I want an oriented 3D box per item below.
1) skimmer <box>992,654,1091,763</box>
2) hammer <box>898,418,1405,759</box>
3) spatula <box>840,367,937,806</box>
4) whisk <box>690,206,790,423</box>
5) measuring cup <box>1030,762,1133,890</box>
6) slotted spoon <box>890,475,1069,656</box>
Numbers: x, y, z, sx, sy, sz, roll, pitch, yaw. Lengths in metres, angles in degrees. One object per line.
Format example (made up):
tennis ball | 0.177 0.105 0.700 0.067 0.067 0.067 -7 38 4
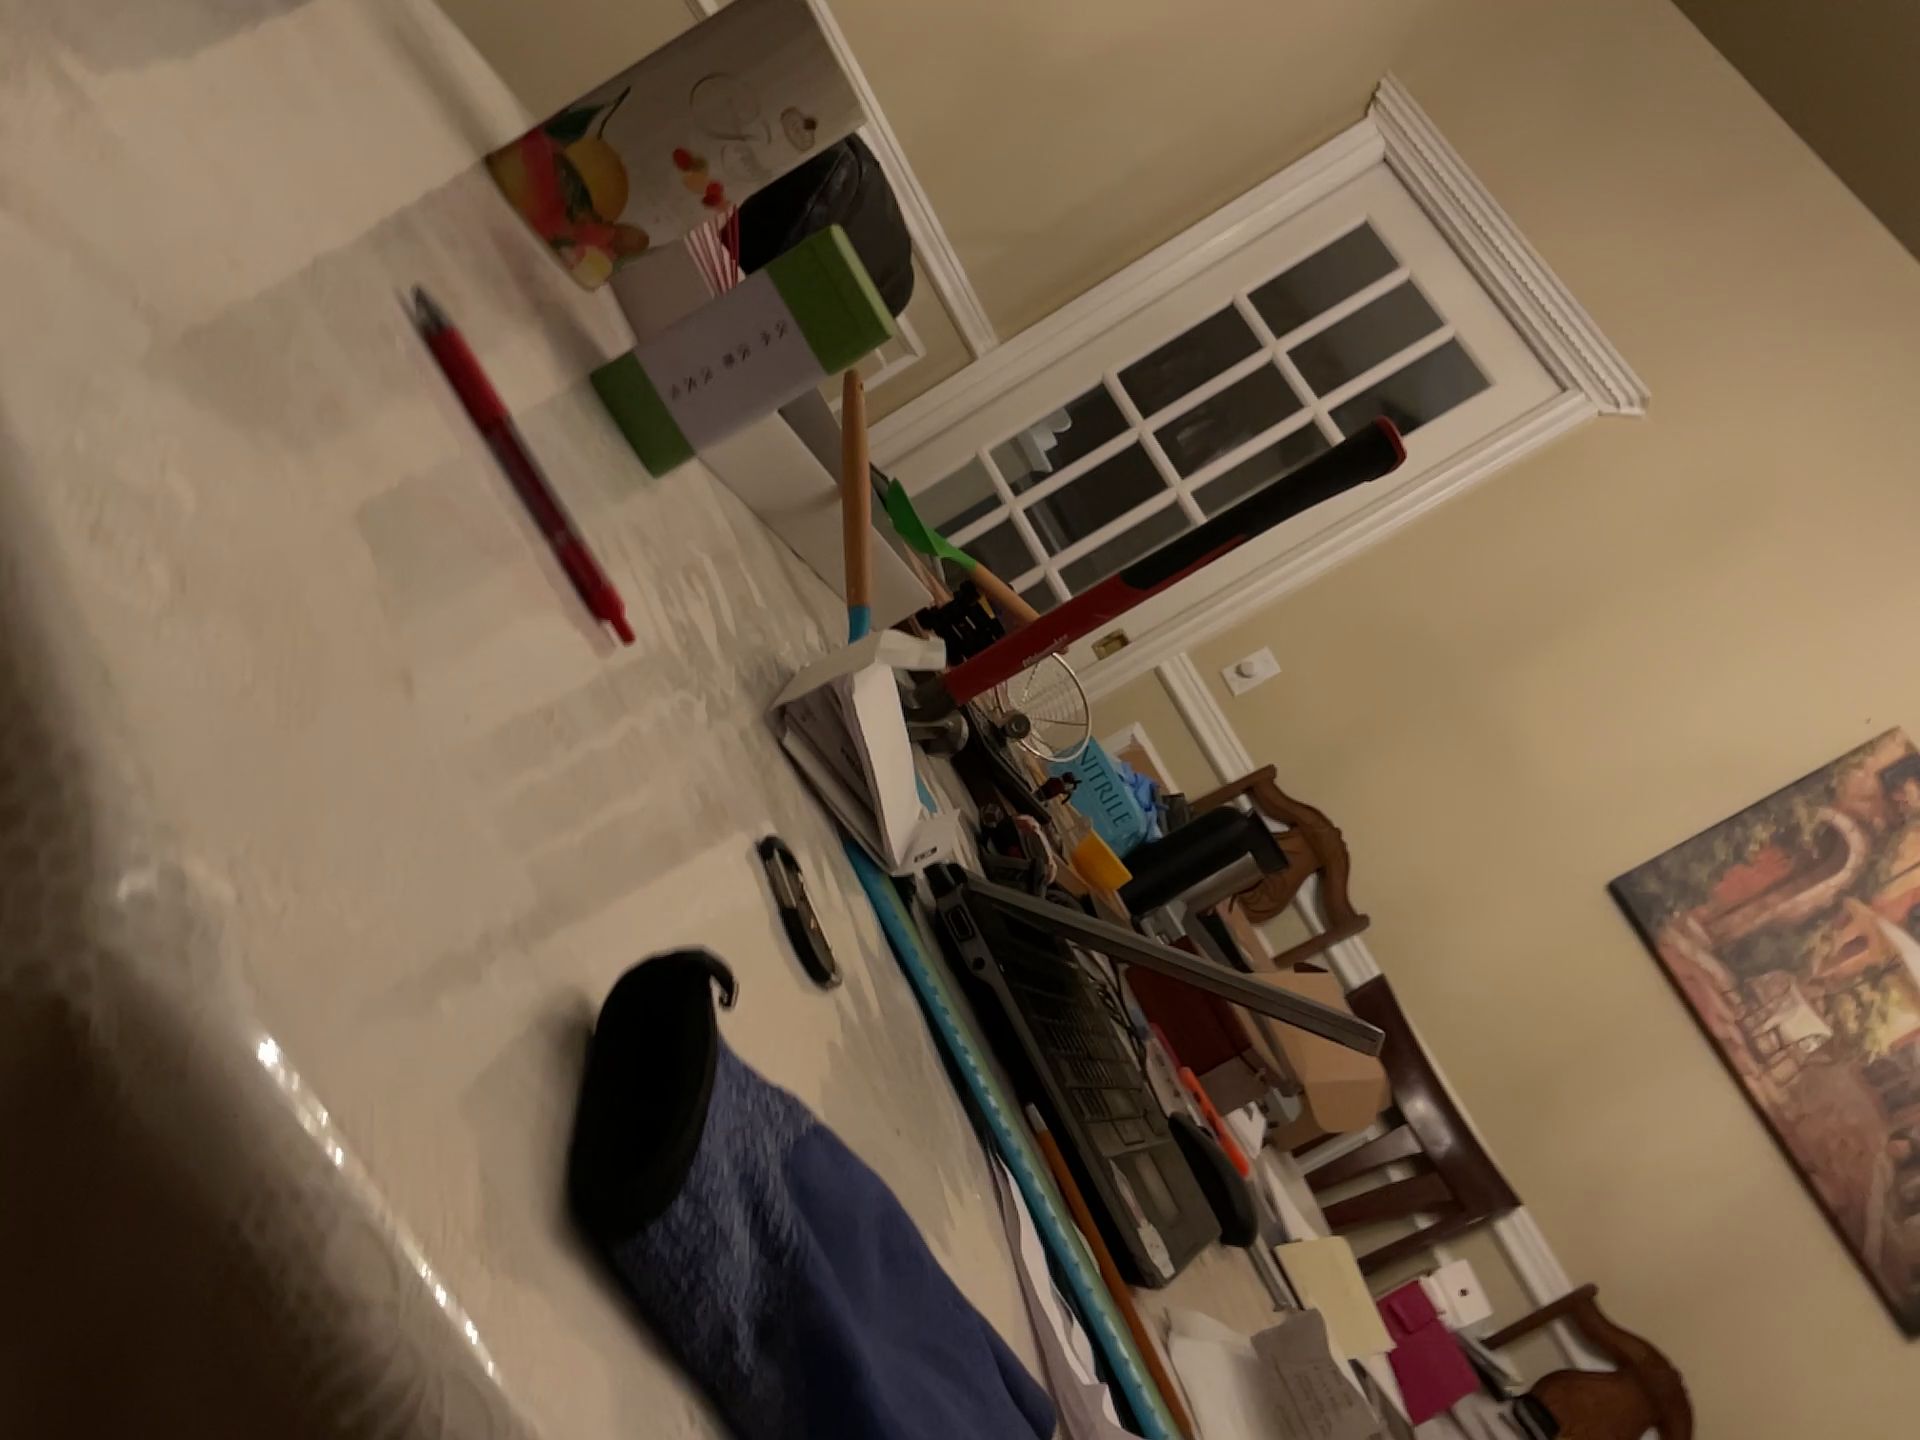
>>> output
skimmer | 0.075 -0.014 1.428 0.127 0.090 0.363 62 2 0
hammer | 0.118 -0.099 1.068 0.038 0.386 0.143 63 7 26
spatula | -0.054 -0.094 1.003 0.082 0.044 0.318 46 36 -60
whisk | -0.164 -0.293 1.094 0.073 0.073 0.295 -86 164 -47
measuring cup | 0.110 0.104 1.557 0.157 0.029 0.062 49 4 25
slotted spoon | 0.022 -0.121 1.380 0.313 0.031 0.070 36 21 -53
